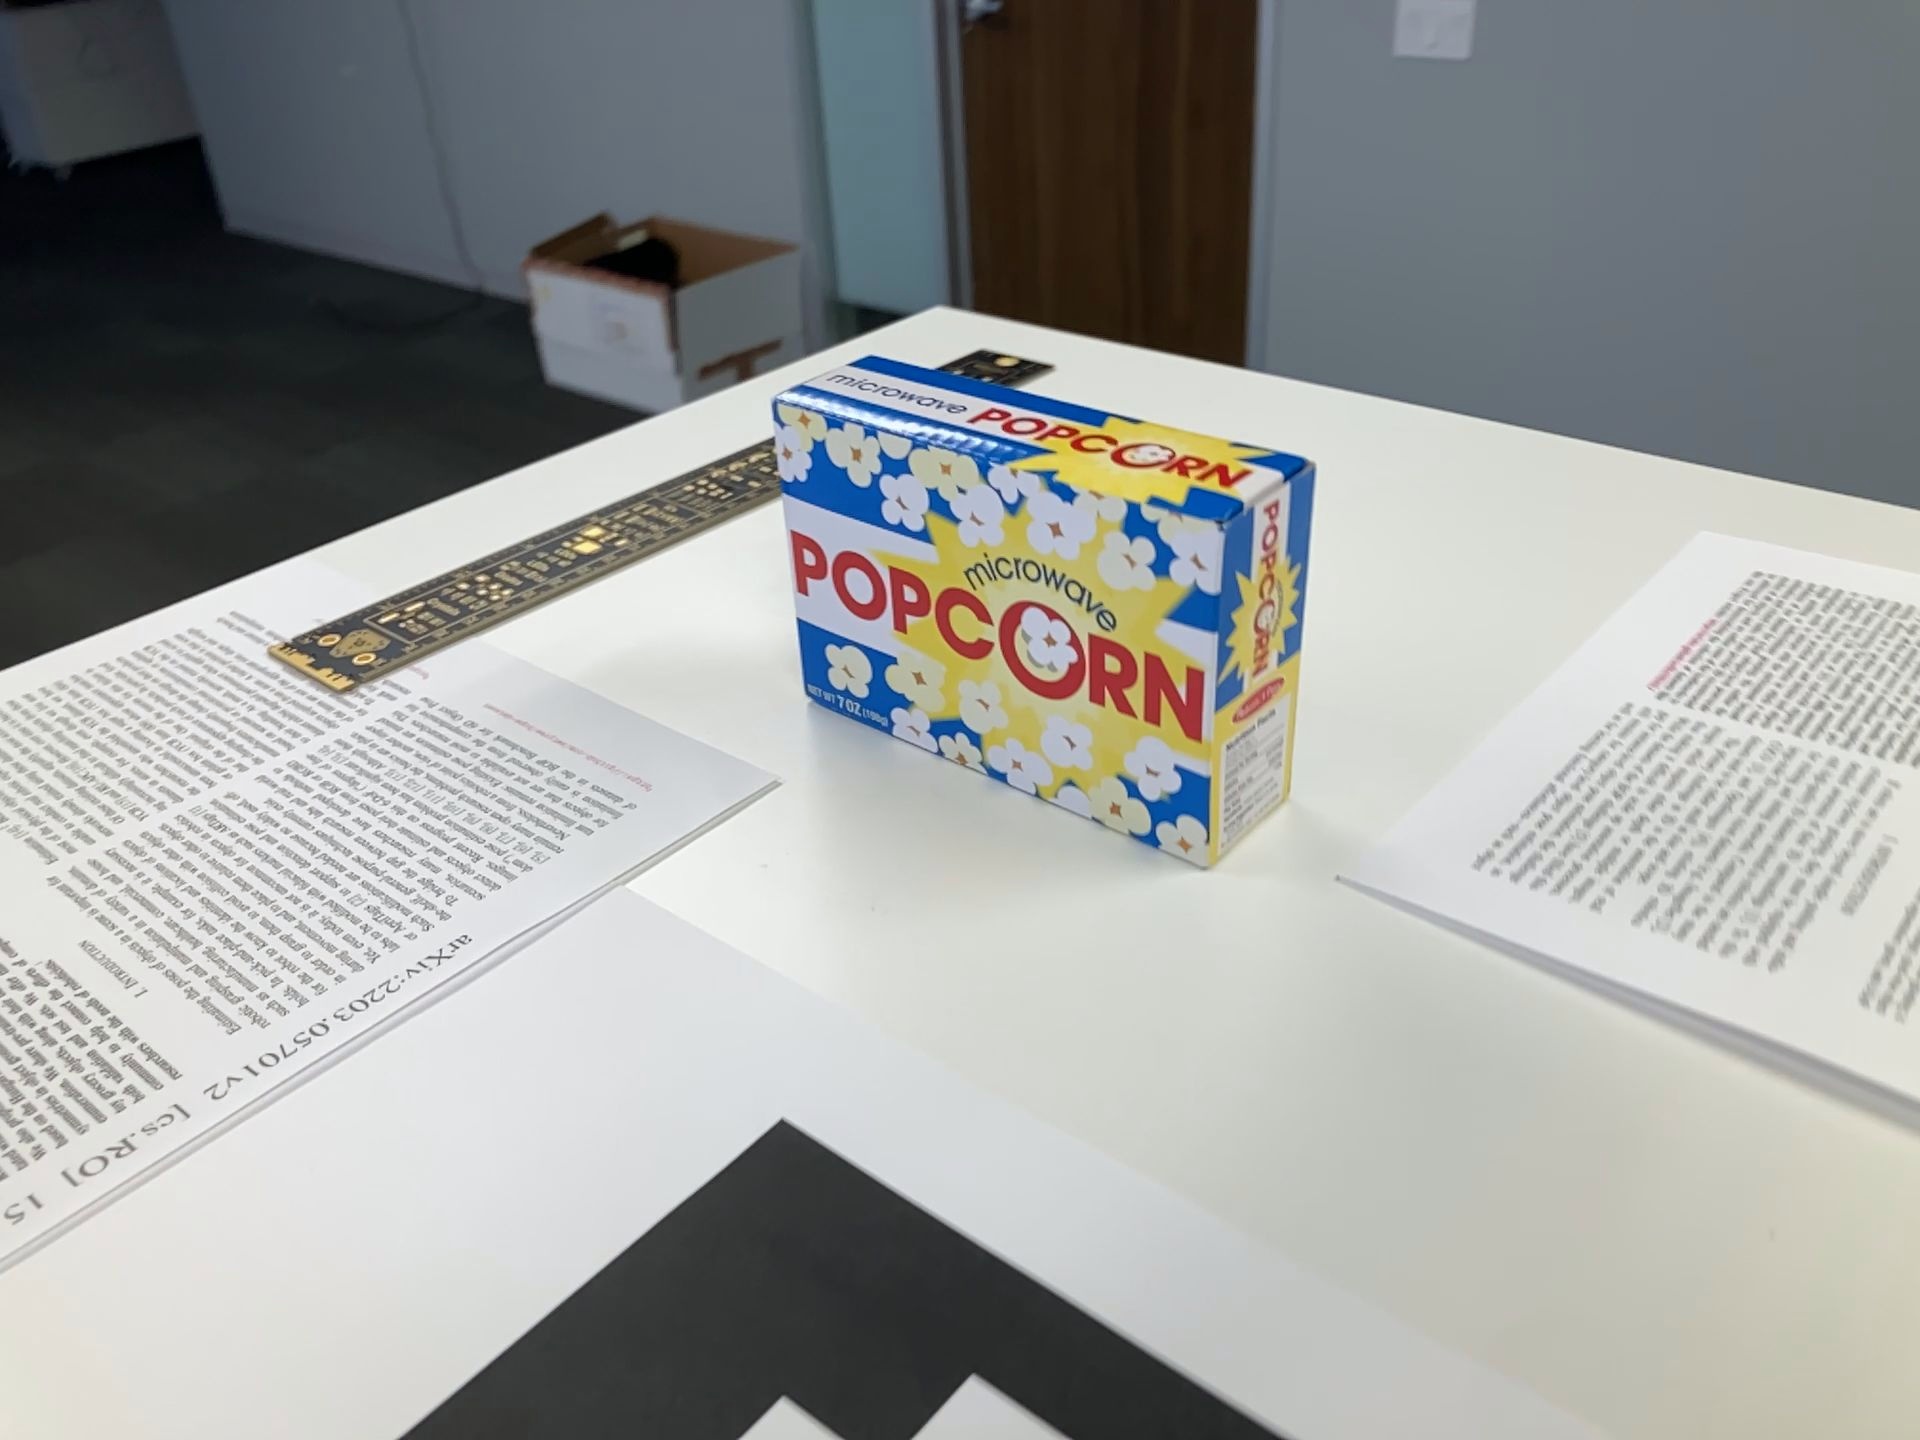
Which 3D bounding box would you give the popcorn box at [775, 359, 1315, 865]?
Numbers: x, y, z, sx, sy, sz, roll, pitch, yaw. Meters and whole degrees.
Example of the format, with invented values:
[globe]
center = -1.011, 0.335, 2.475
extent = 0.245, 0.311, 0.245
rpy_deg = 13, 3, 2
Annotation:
[popcorn box]
center = 0.016, -0.029, 0.373
extent = 0.126, 0.085, 0.038
rpy_deg = 22, 39, 35
